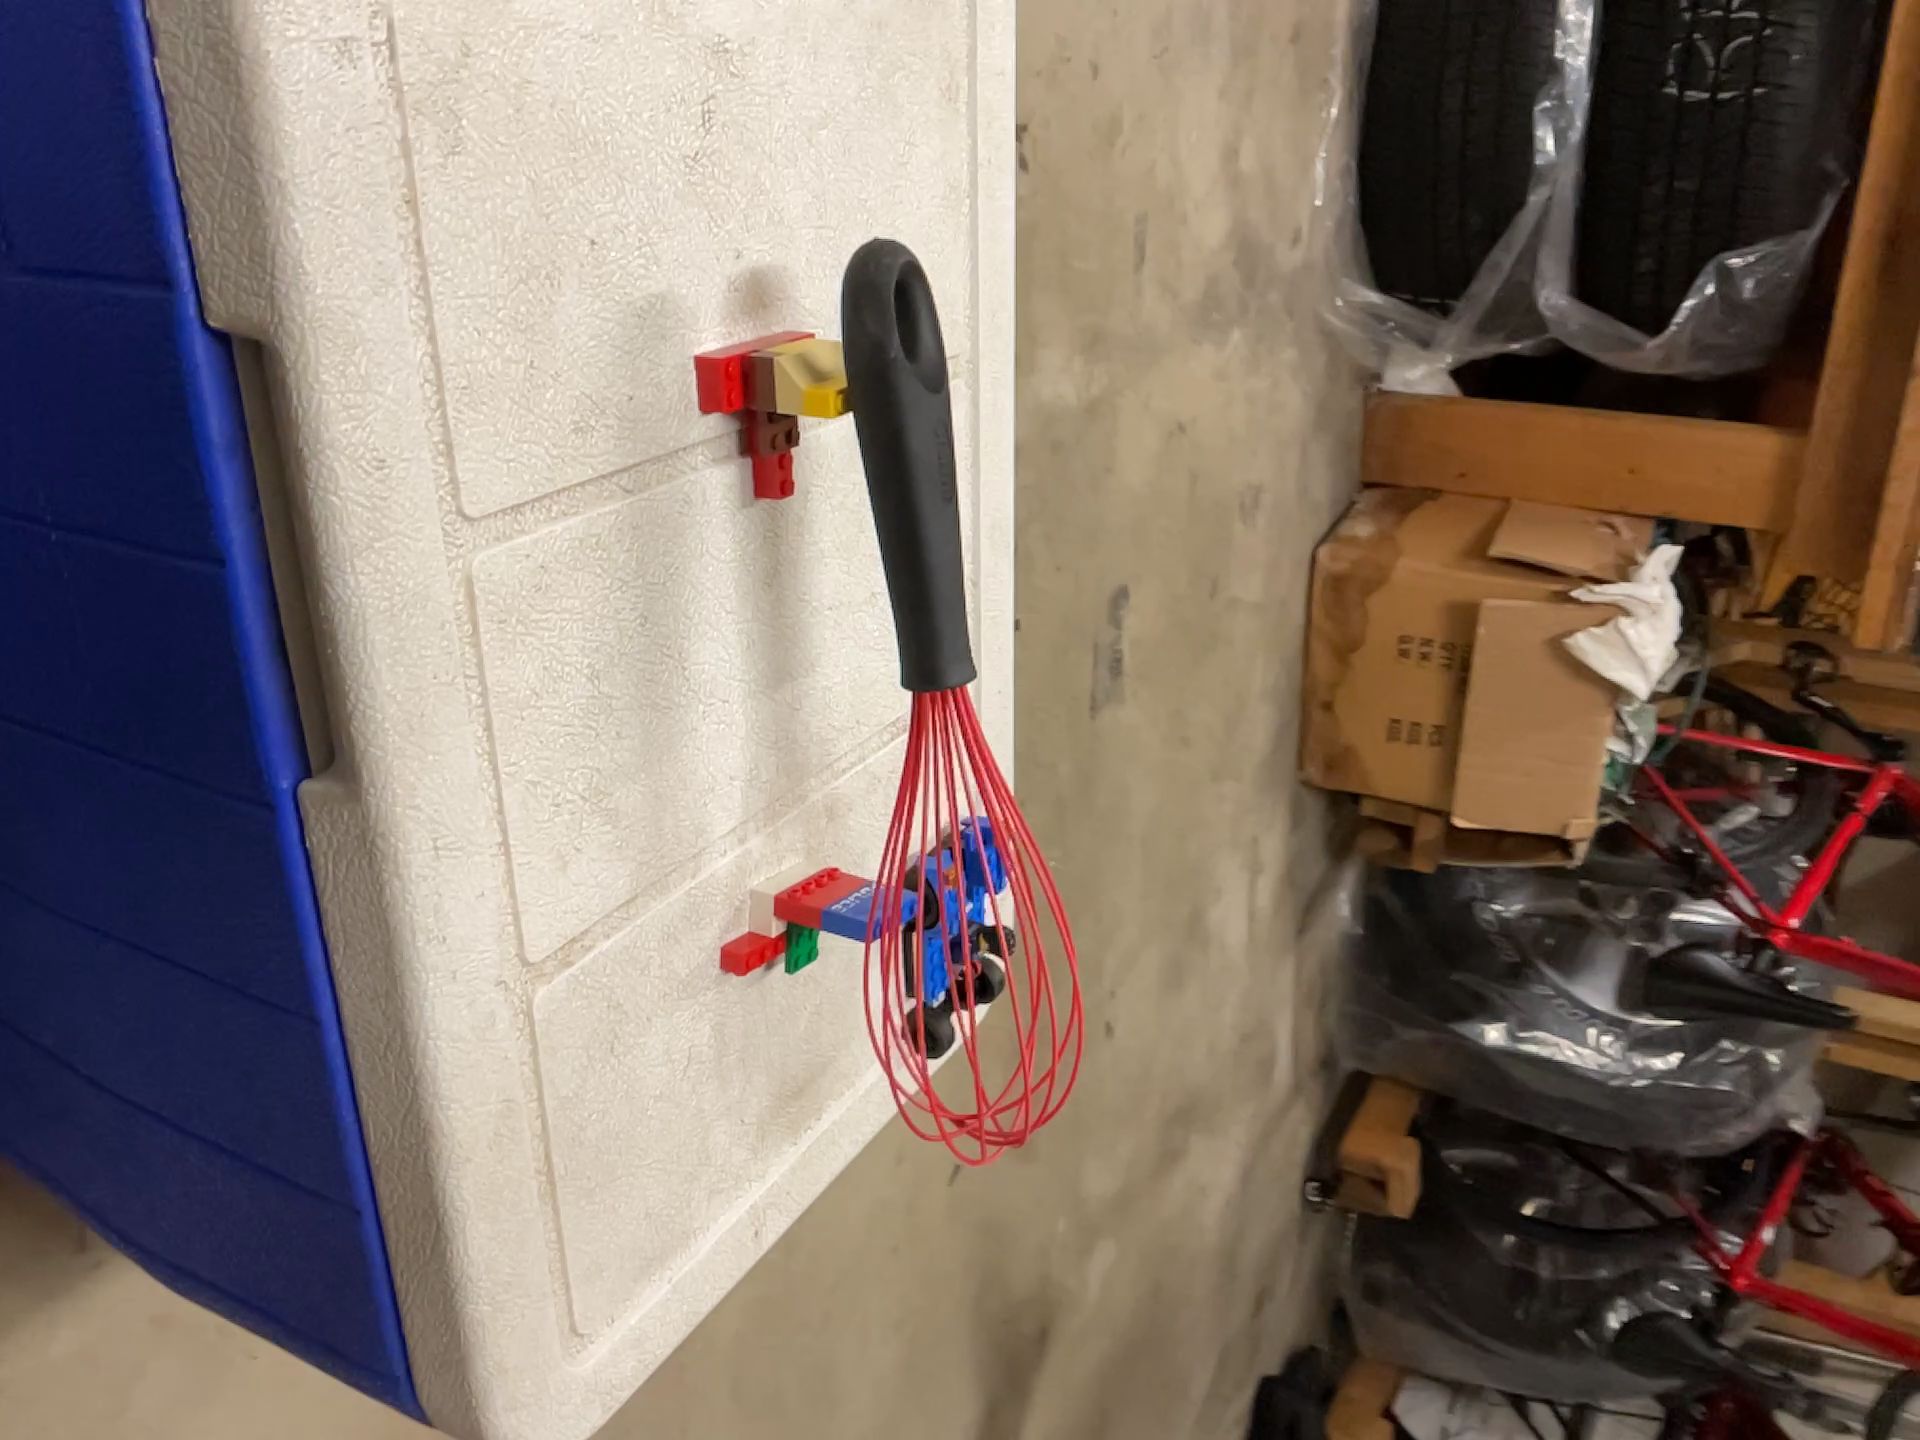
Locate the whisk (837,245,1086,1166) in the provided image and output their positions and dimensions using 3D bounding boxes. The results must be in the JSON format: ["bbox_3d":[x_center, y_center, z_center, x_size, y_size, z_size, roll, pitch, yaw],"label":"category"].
[{"bbox_3d":[-0.005,0.006,0.492,0.073,0.073,0.295,-30,118,-52],"label":"whisk"}]
